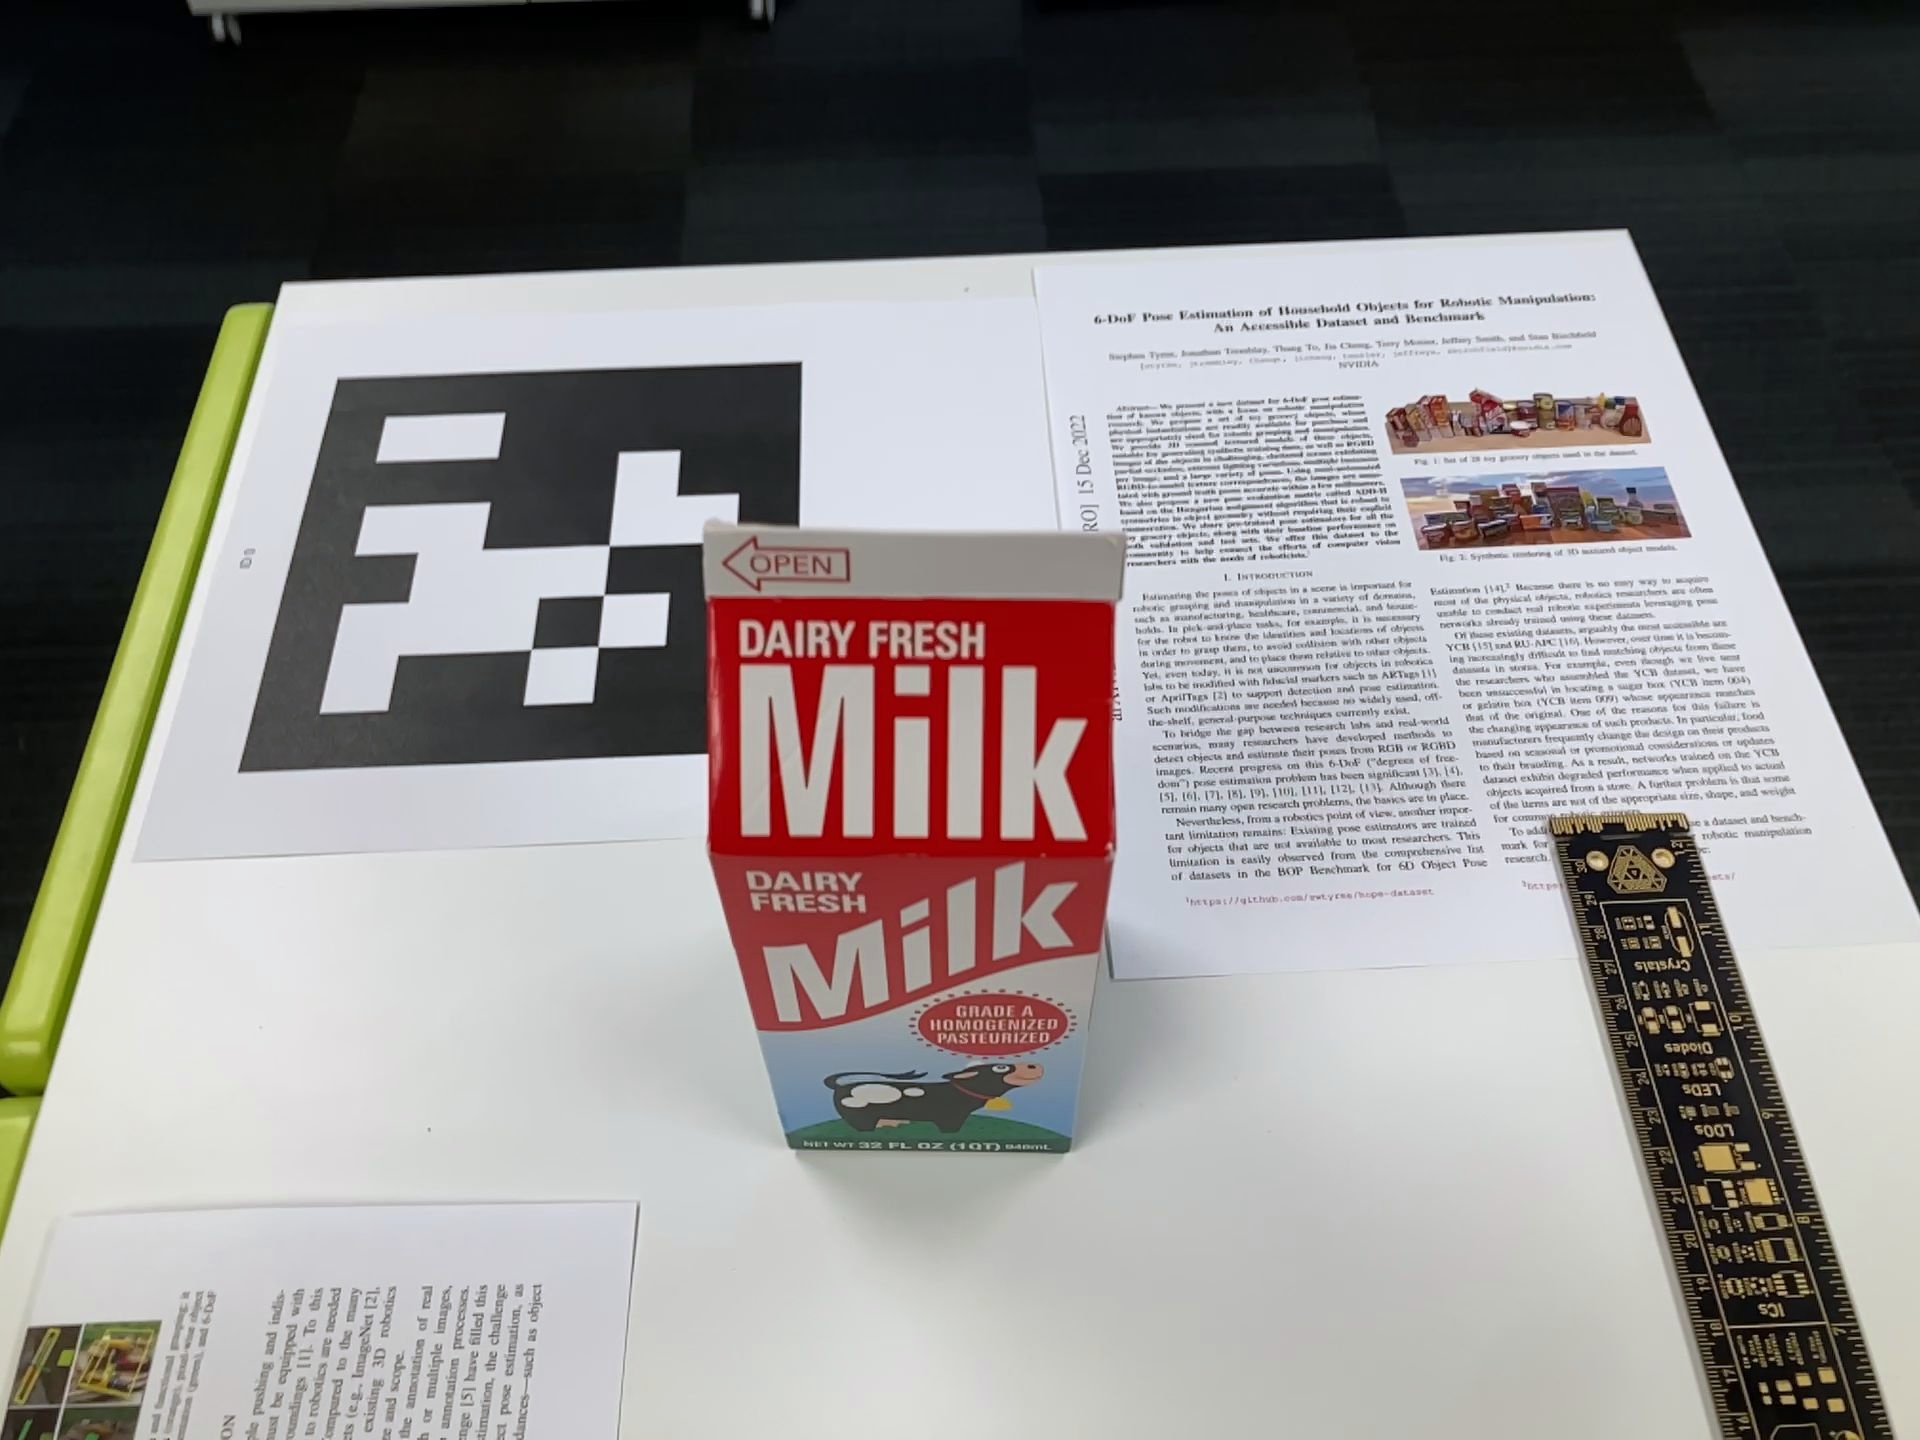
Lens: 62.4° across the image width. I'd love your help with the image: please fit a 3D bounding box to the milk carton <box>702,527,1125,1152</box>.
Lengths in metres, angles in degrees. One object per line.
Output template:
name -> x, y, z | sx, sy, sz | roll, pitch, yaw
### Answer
milk carton -> -0.007, 0.024, 0.334 | 0.072, 0.190, 0.073 | 1, 56, 1
